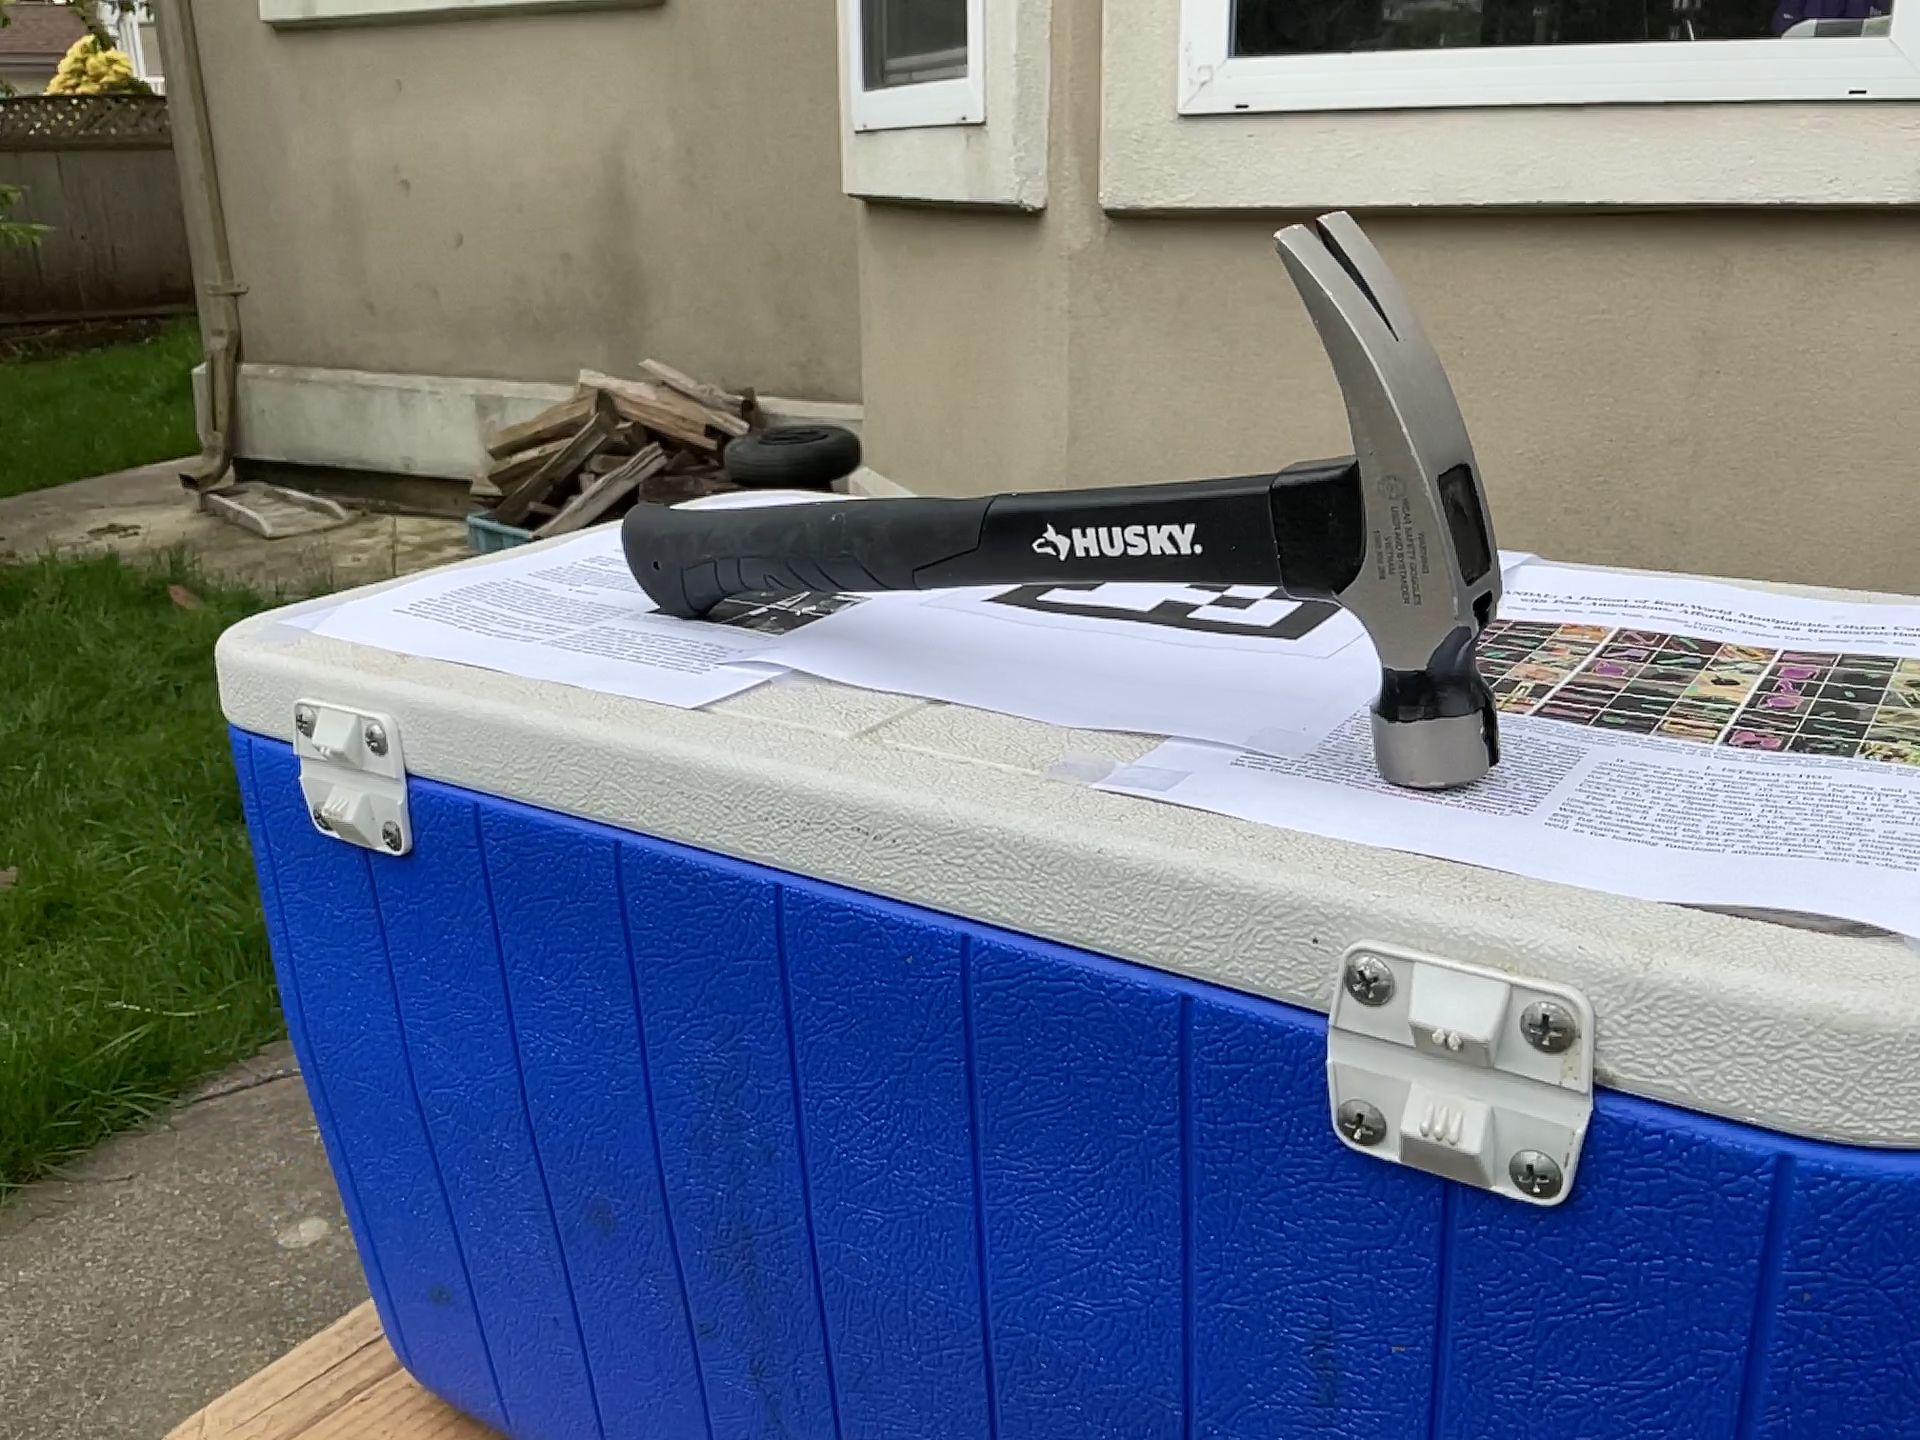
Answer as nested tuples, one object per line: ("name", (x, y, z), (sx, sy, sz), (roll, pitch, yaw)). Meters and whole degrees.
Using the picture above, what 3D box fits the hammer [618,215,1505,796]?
("hammer", (0.002, -0.060, 0.504), (0.335, 0.146, 0.035), (4, 23, 42))
